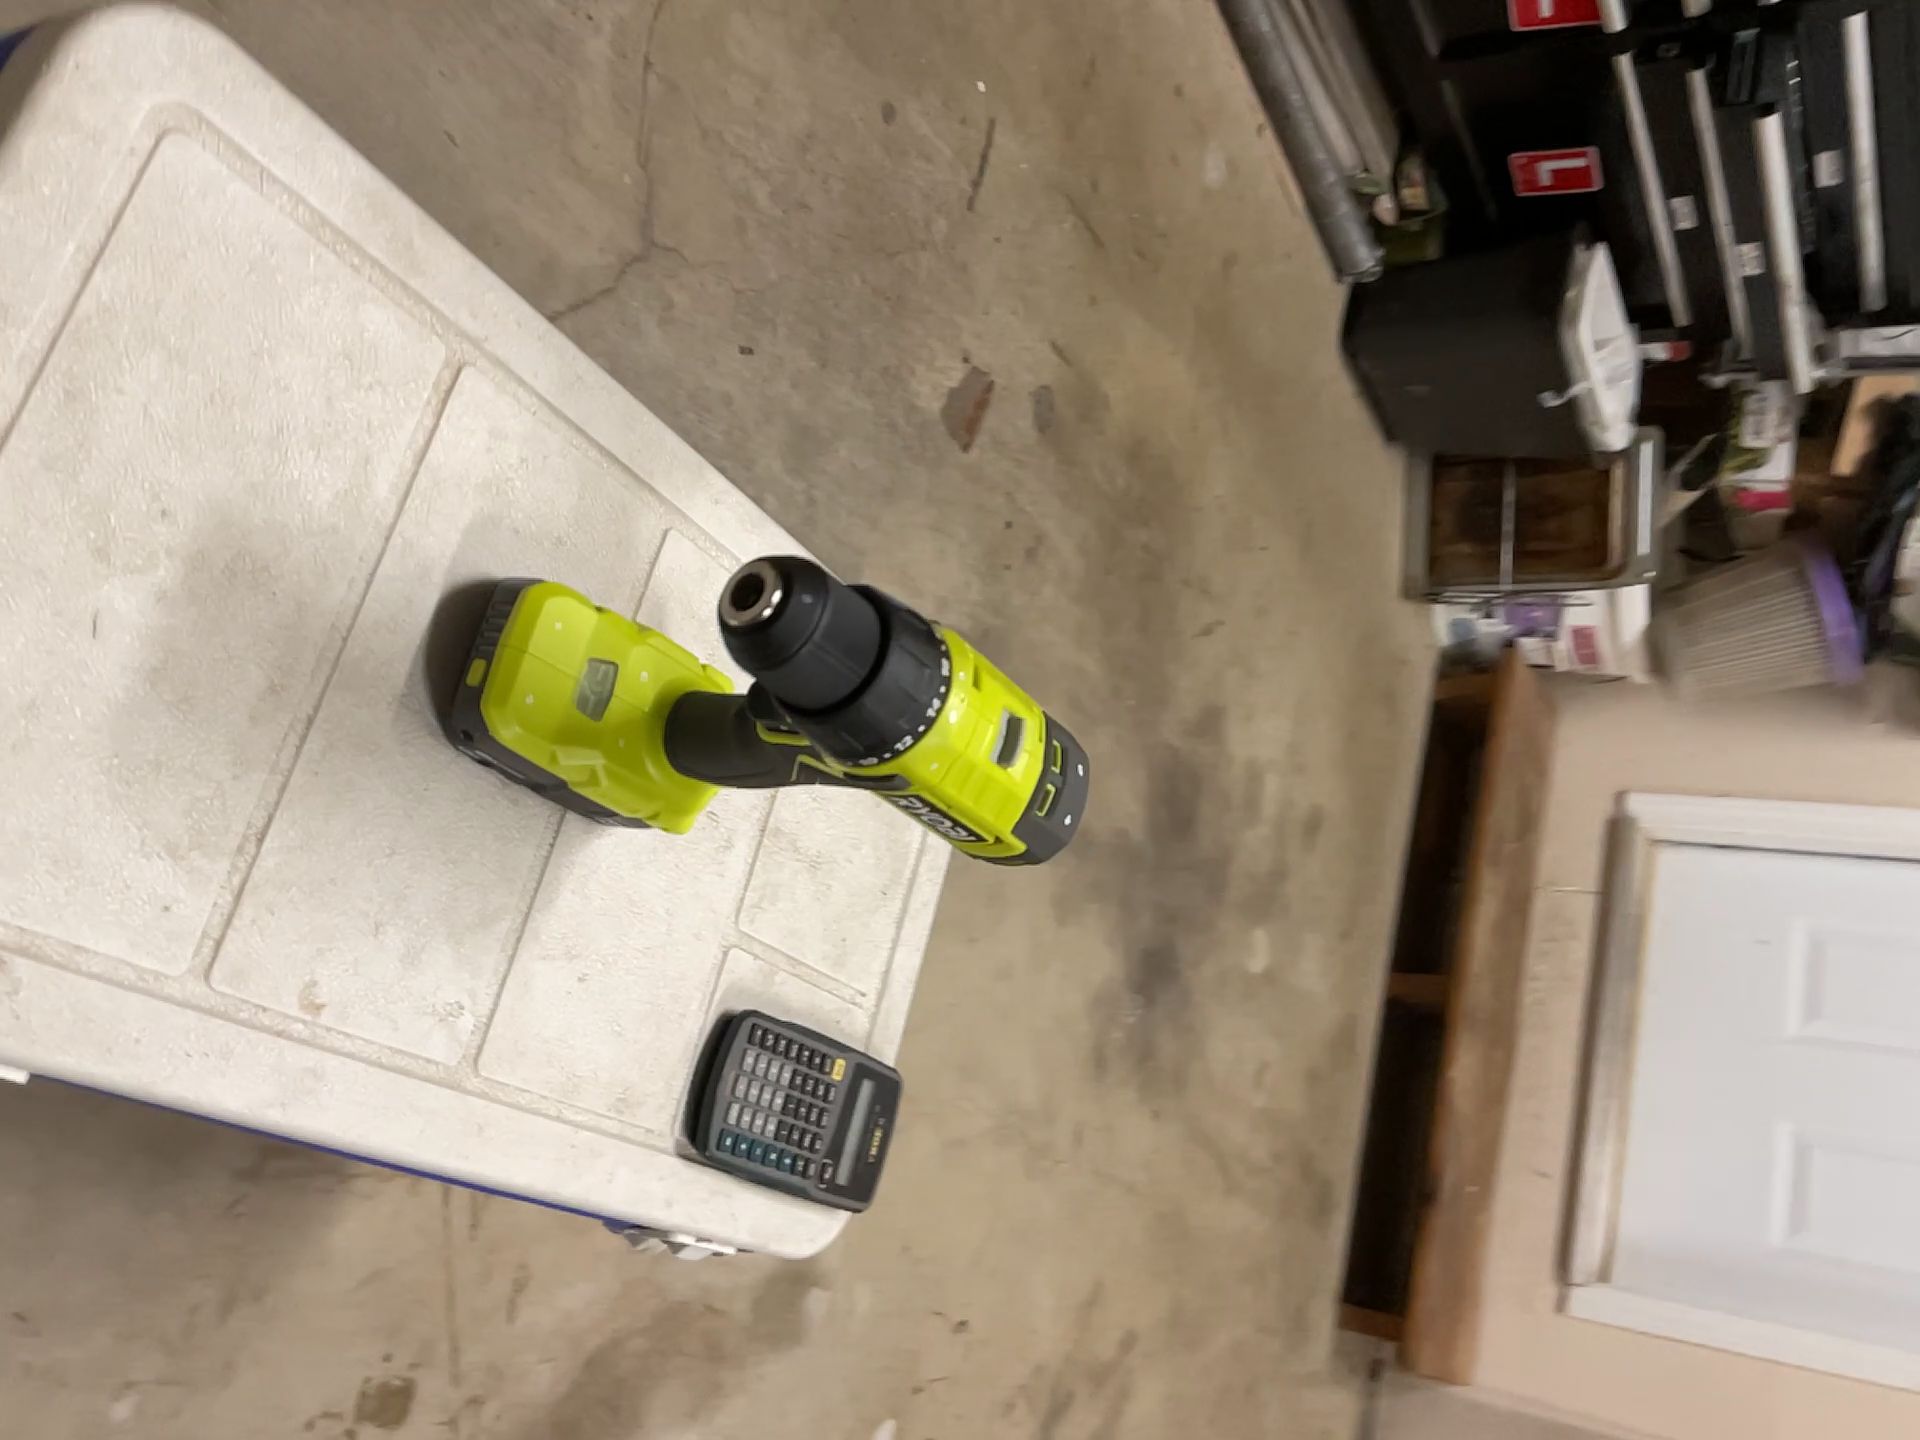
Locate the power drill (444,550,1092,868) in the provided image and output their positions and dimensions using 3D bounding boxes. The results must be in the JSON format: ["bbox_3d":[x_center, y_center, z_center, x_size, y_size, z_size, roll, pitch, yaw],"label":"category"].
[{"bbox_3d":[-0.085,-0.007,0.606,0.190,0.228,0.080,37,62,-51],"label":"power drill"}]
